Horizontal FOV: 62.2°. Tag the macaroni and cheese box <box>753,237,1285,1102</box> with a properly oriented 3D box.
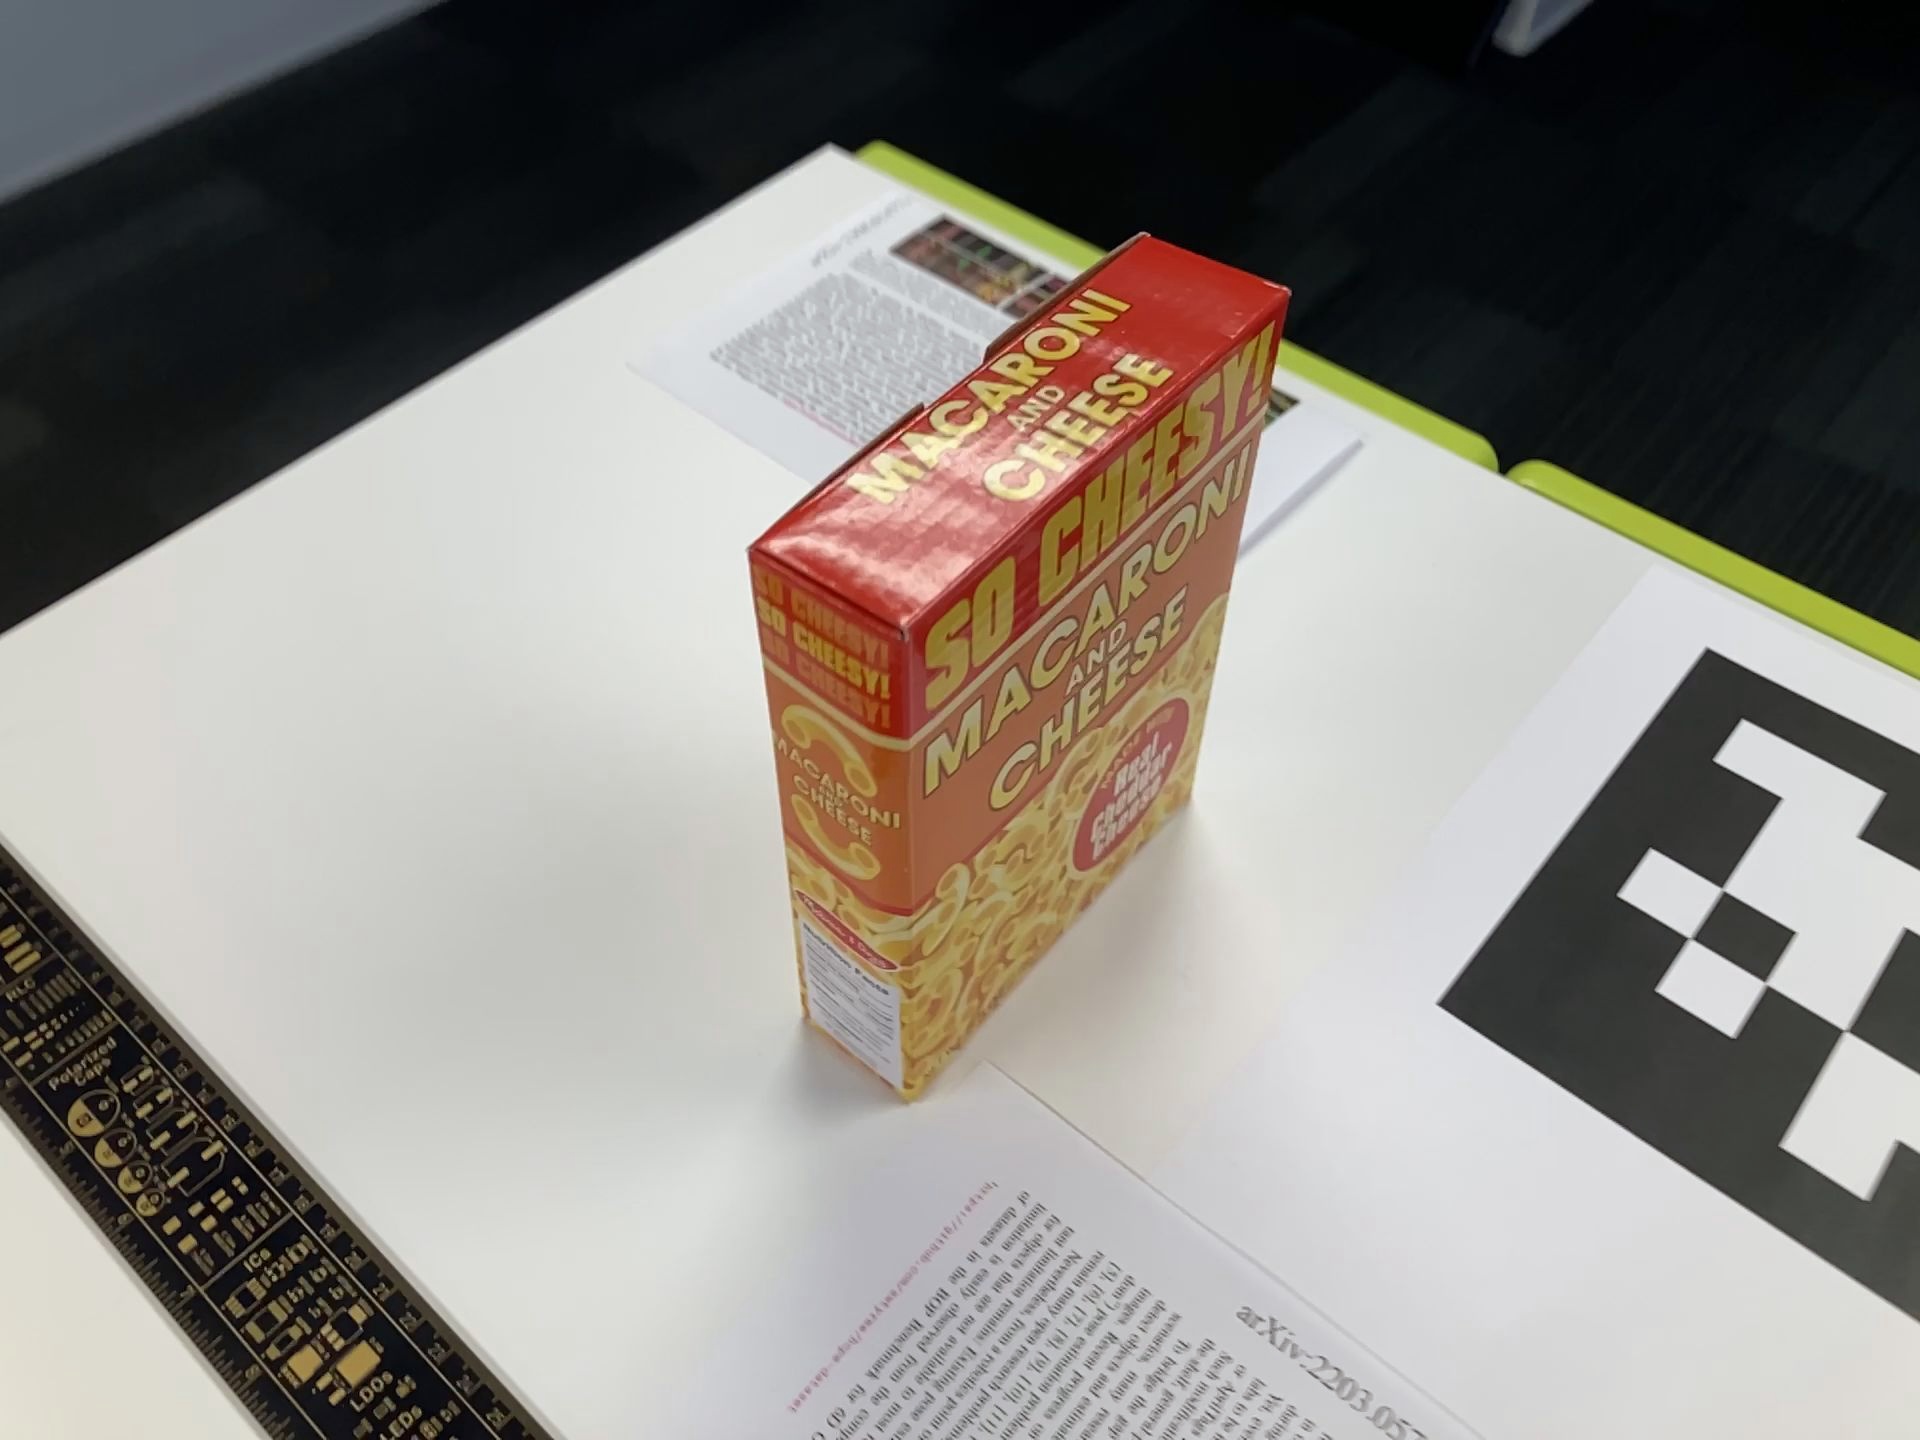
[{"bbox_3d":[0.013,-0.005,0.359,0.040,0.166,0.124,31,56,23],"label":"macaroni and cheese box"}]
